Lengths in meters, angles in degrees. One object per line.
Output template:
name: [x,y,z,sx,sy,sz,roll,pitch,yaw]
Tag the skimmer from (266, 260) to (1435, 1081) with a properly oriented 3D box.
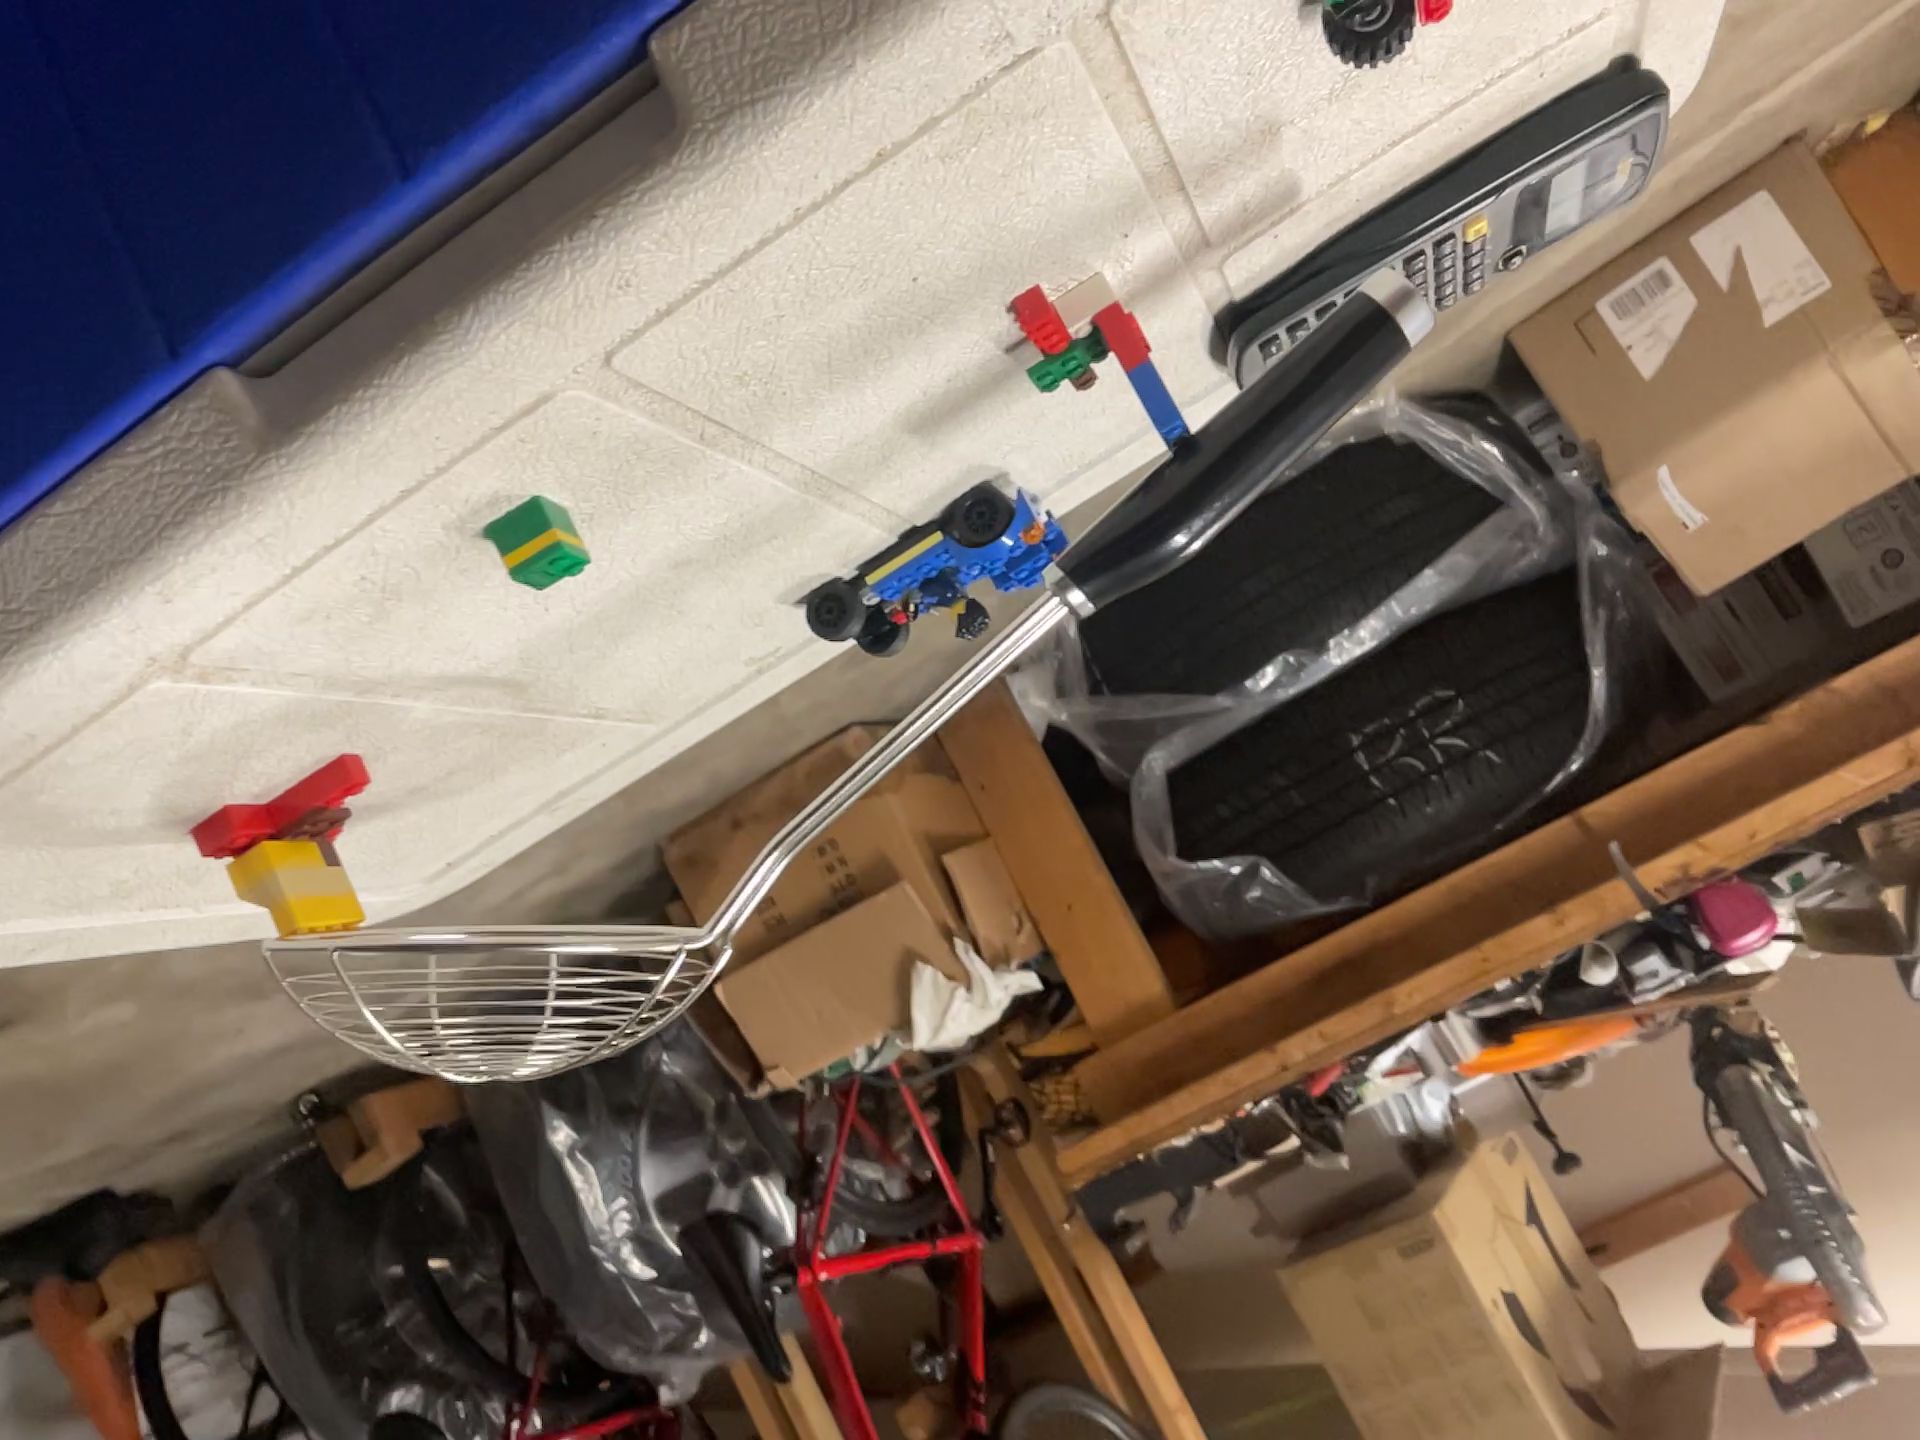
skimmer: [-0.034,-0.019,0.454,0.363,0.090,0.127,-41,167,6]
